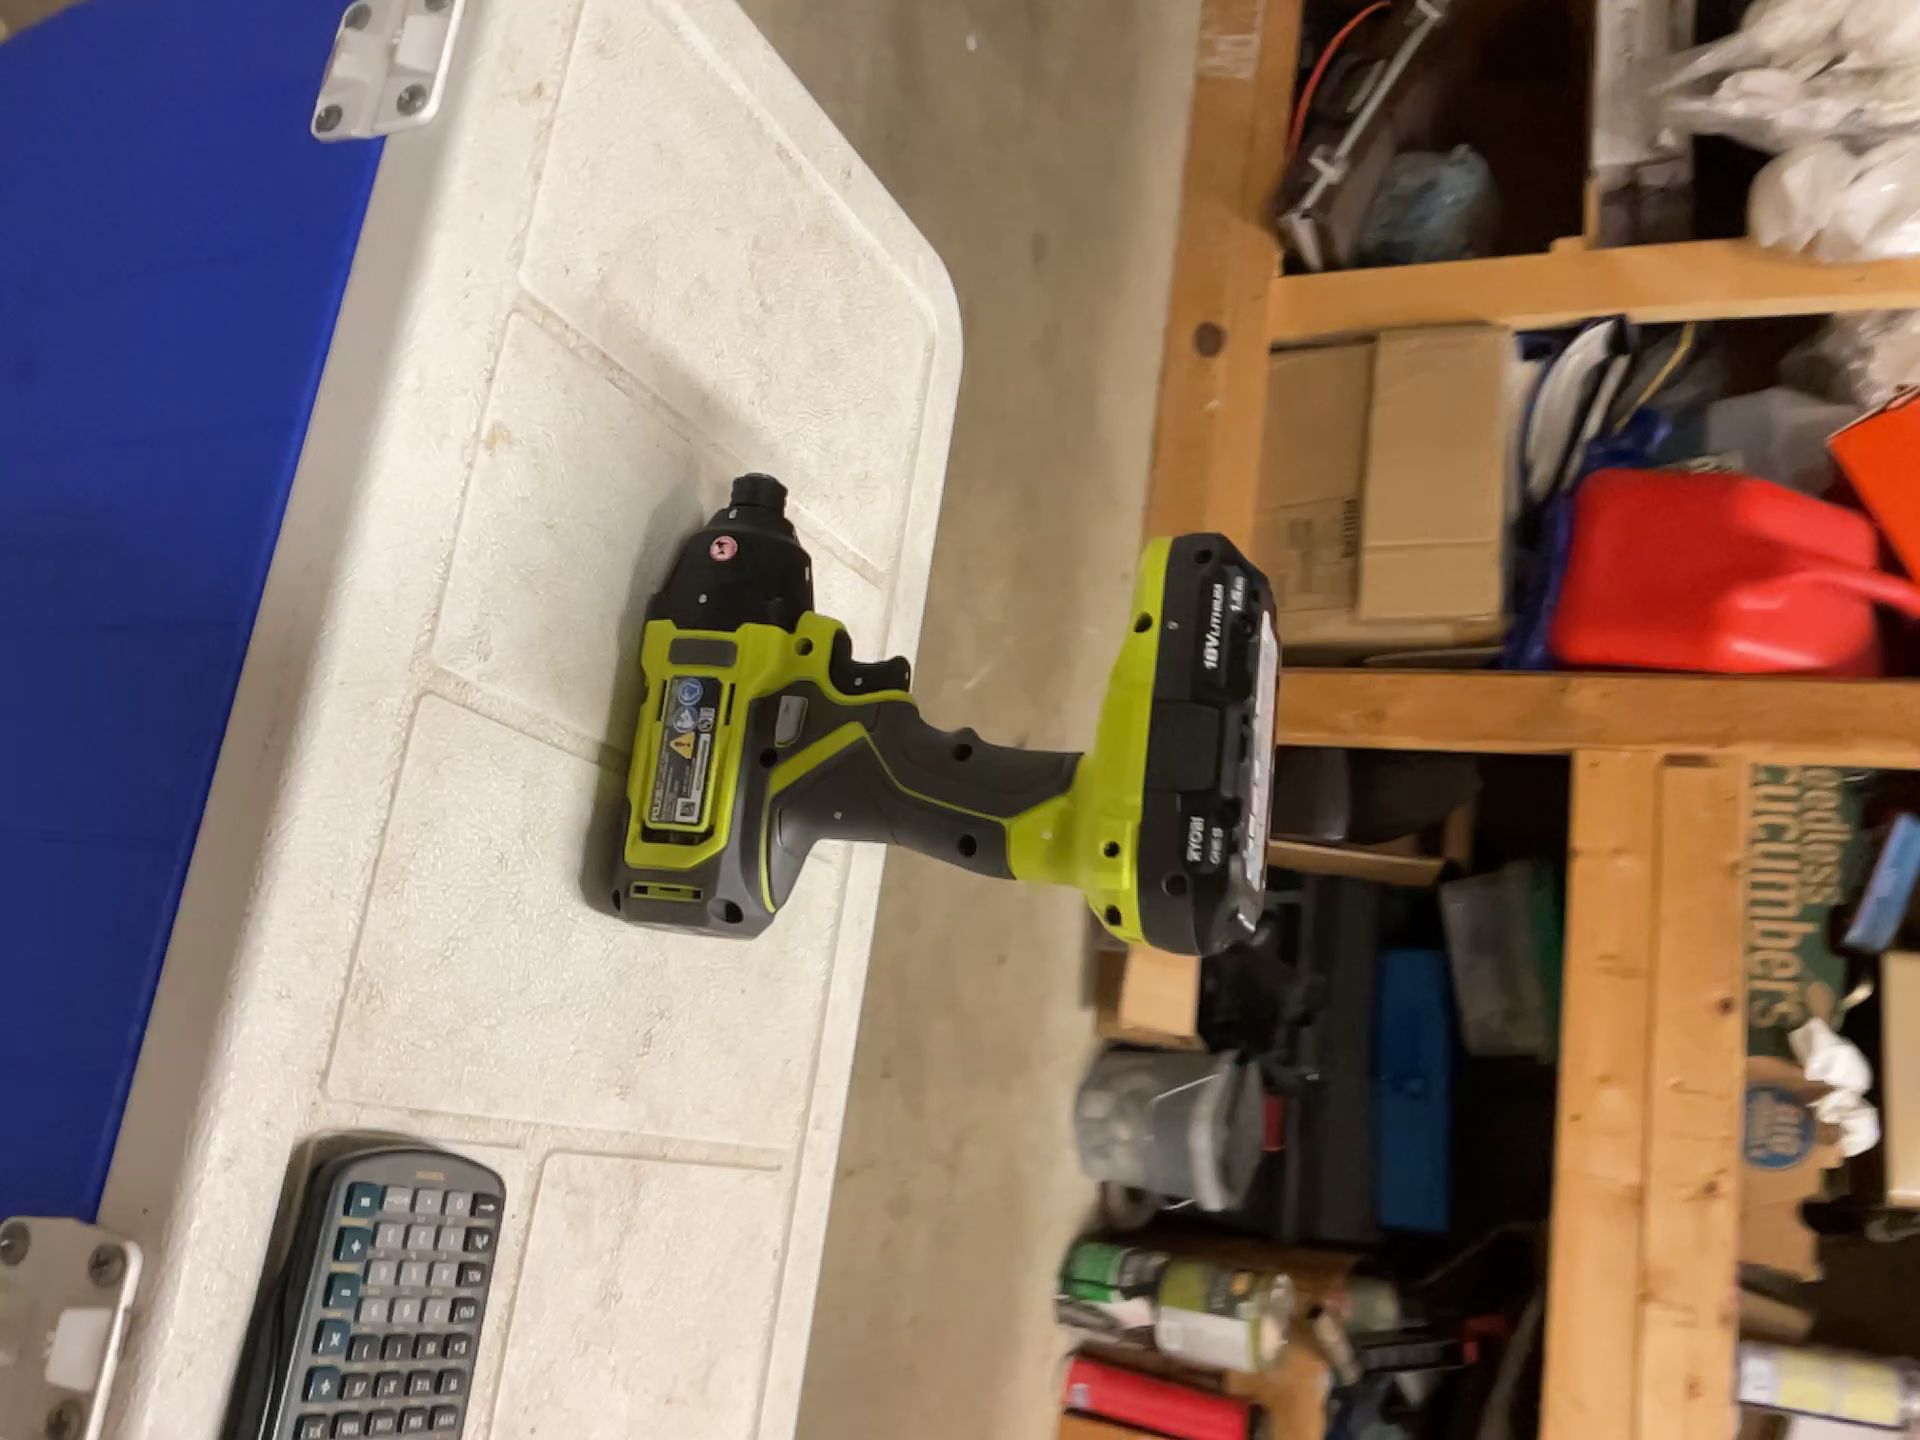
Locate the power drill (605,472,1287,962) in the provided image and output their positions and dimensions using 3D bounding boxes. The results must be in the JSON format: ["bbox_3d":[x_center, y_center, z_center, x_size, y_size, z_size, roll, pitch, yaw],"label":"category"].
[{"bbox_3d":[-0.005,-0.003,0.552,0.080,0.223,0.171,43,52,-69],"label":"power drill"}]
